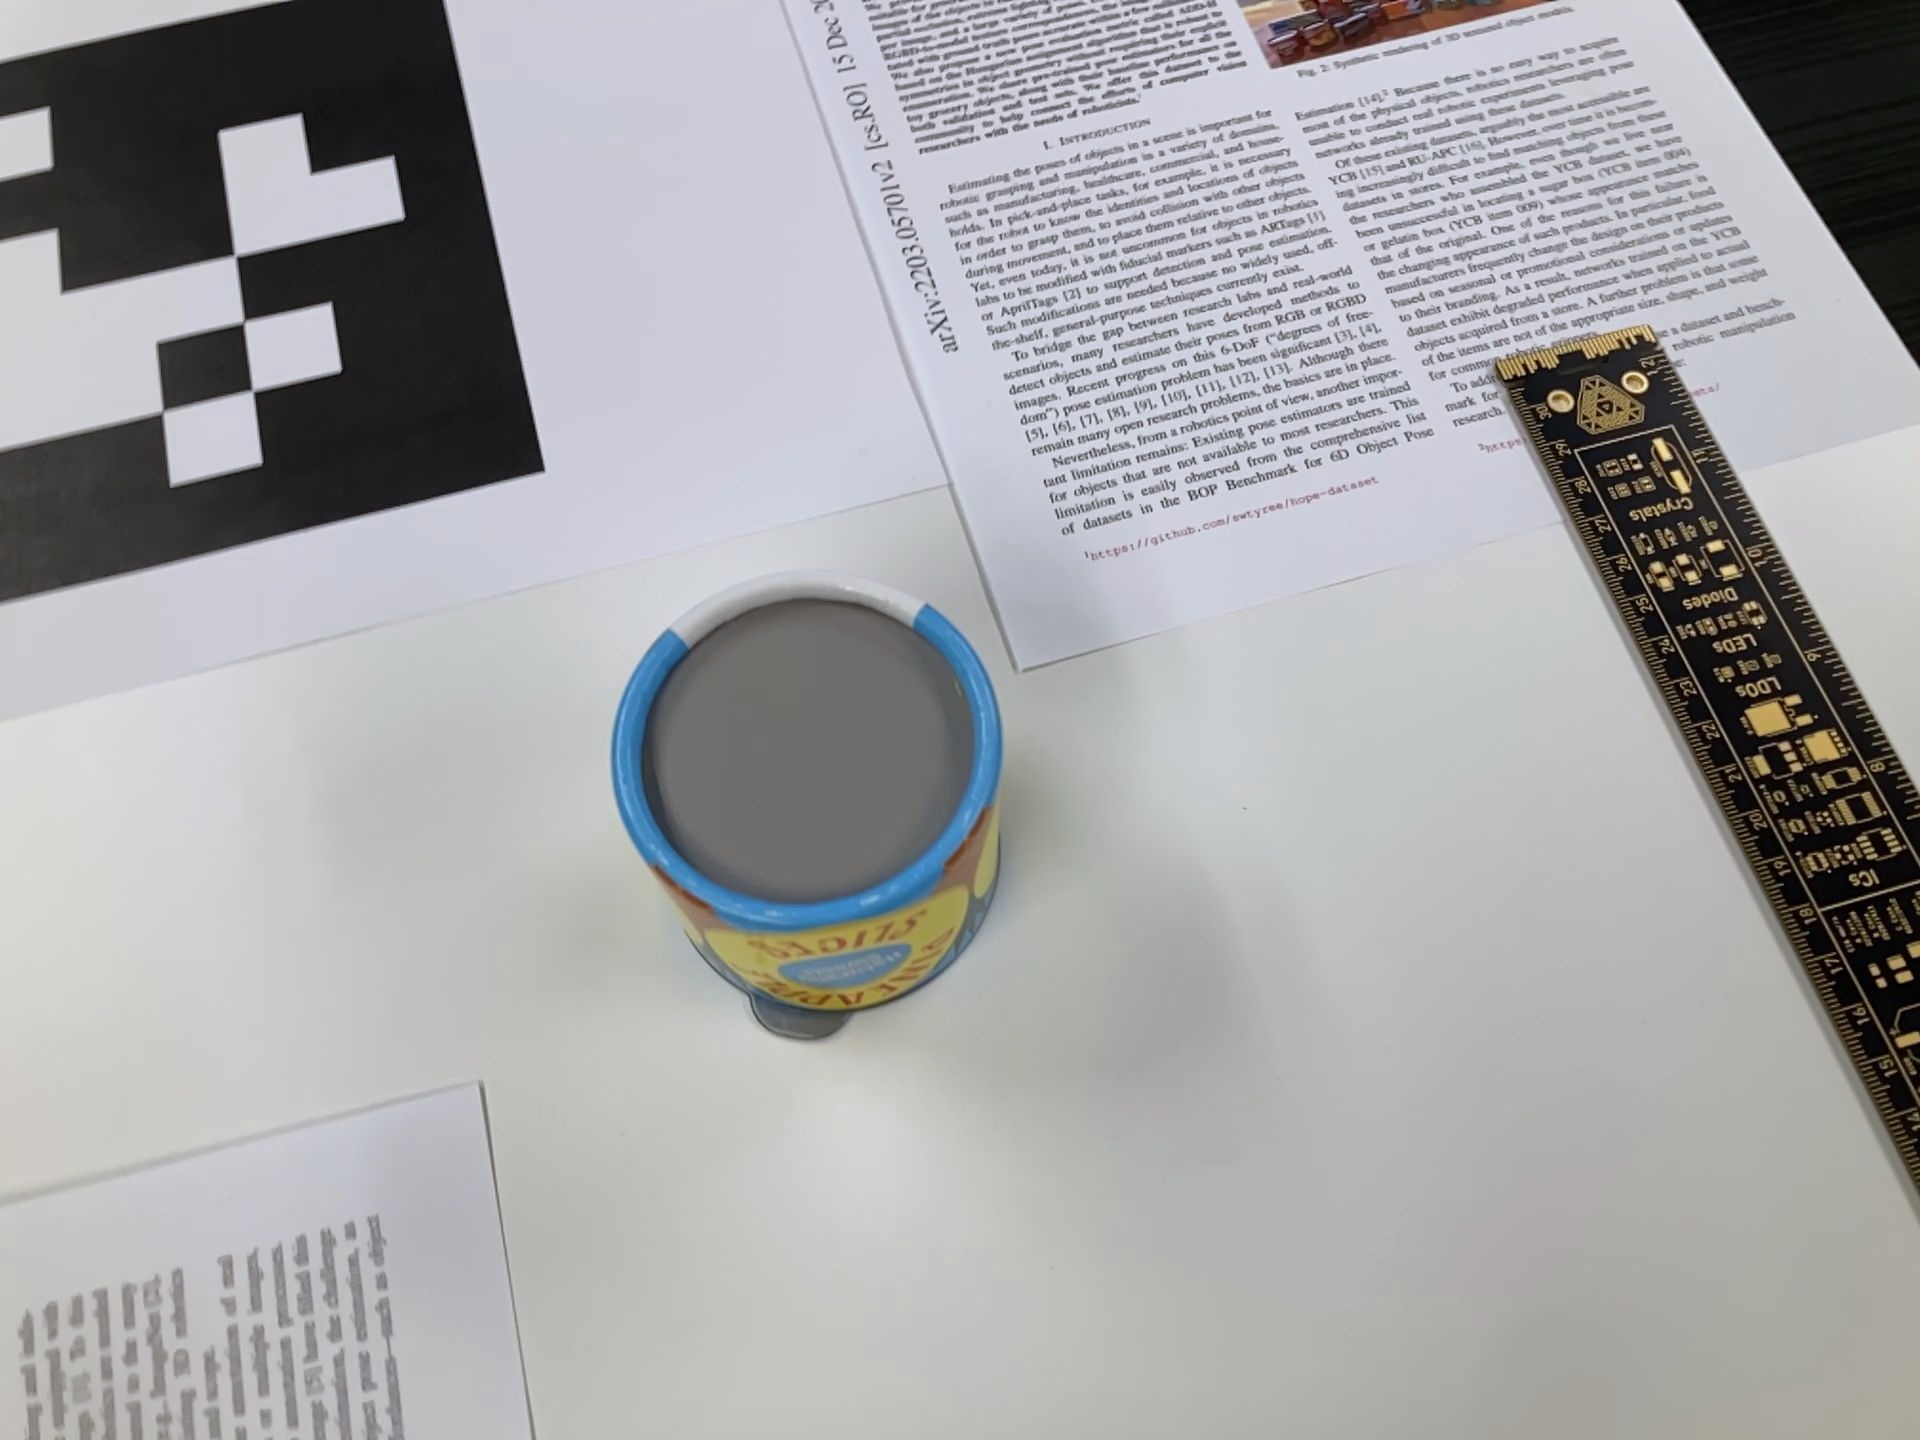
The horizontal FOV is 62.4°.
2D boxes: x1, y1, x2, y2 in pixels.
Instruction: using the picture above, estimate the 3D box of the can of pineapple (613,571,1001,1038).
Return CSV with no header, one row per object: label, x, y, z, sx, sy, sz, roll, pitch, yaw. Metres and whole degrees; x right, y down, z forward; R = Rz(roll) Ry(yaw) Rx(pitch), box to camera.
can of pineapple,-0.025,0.016,0.290,0.071,0.058,0.071,0,66,1
